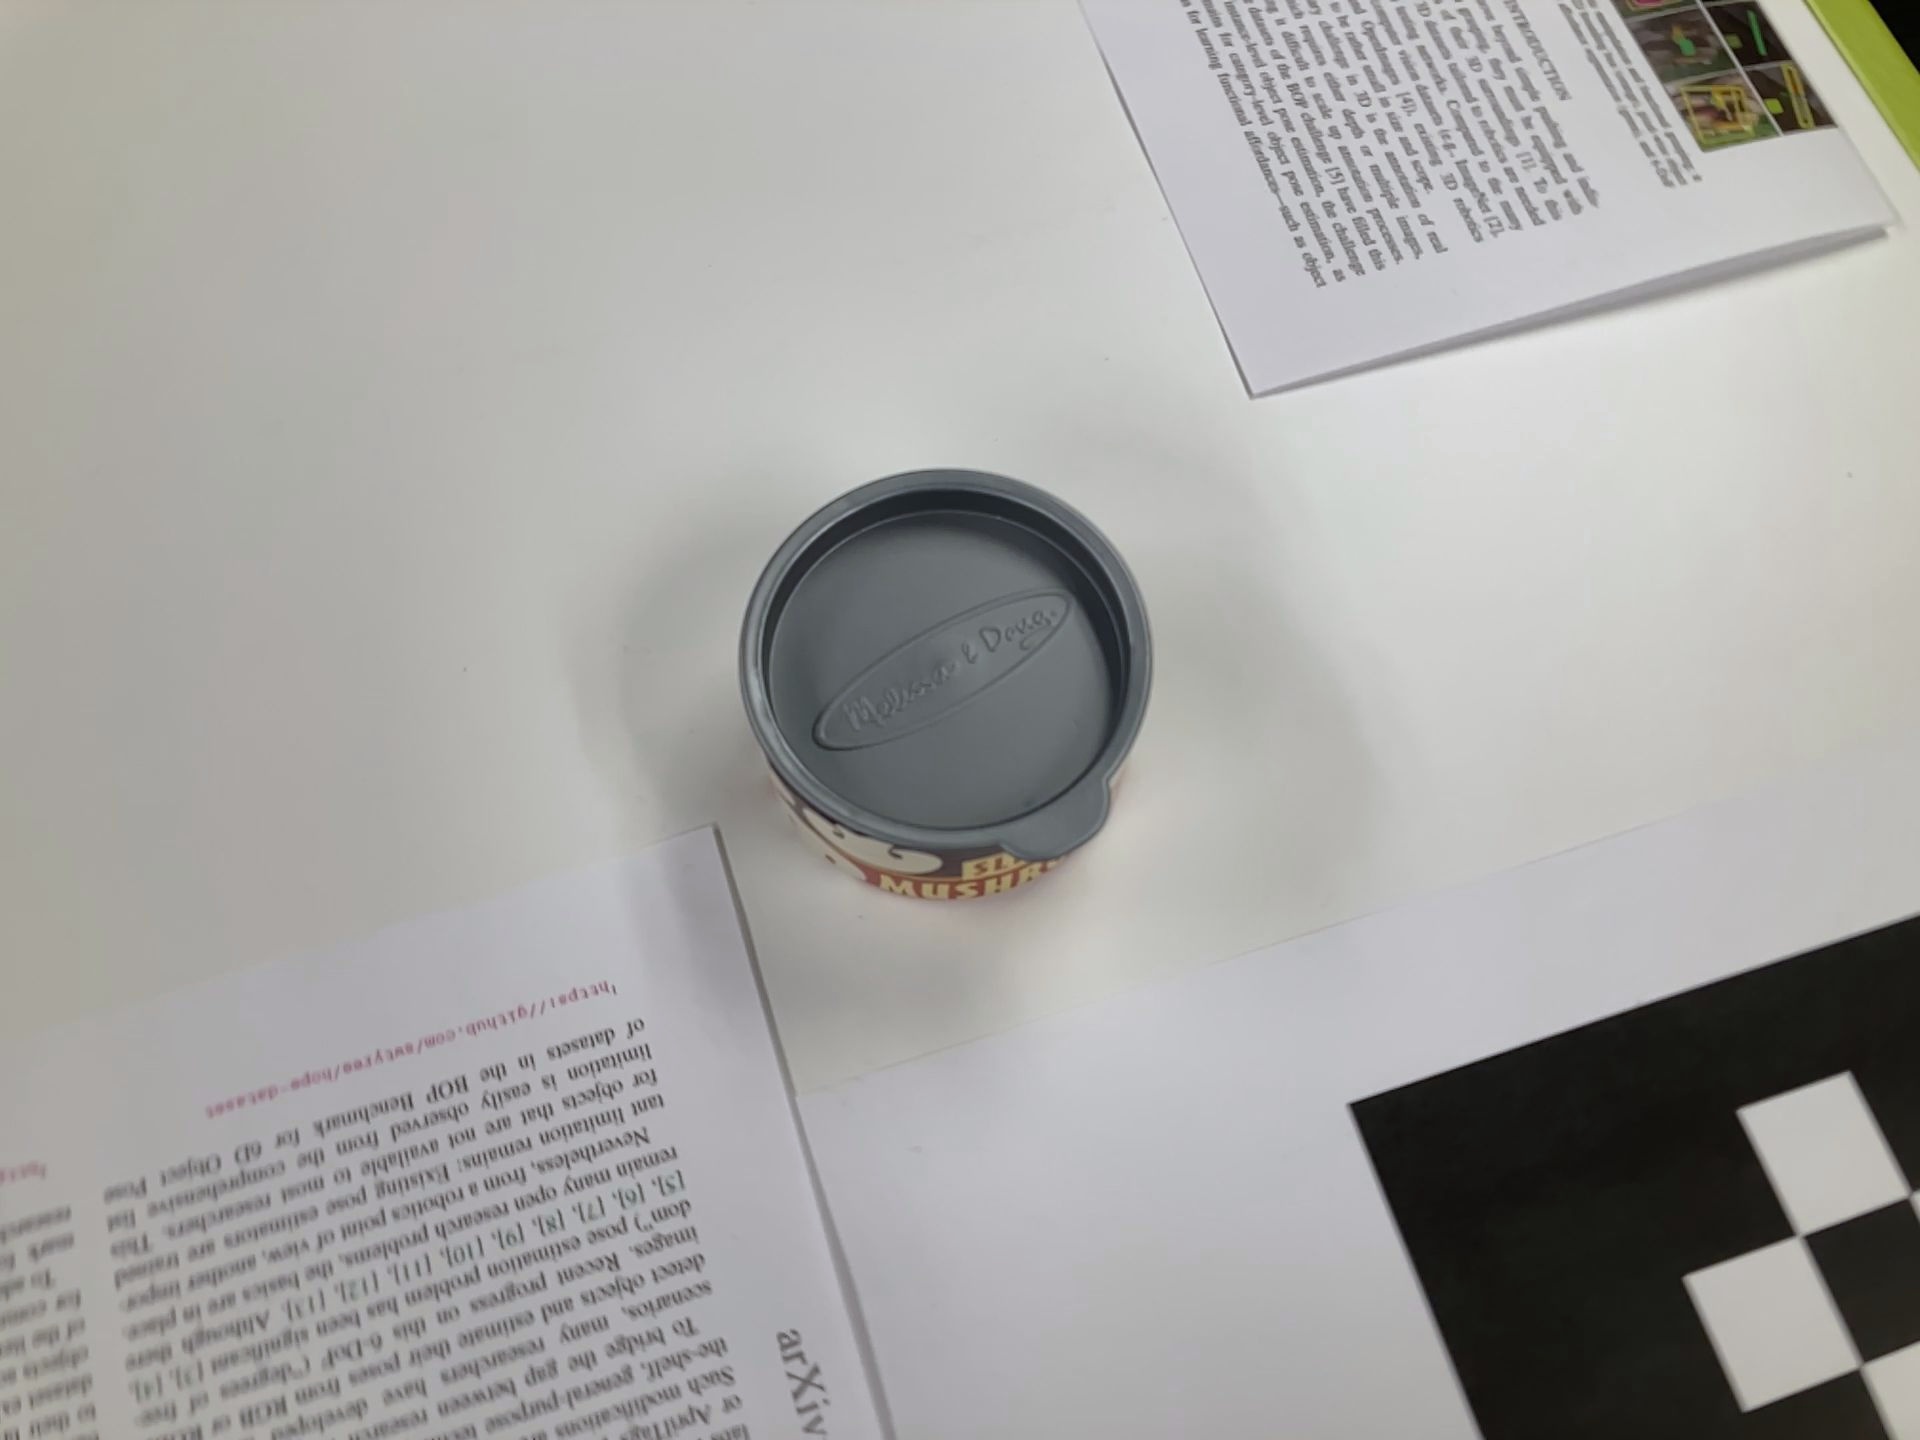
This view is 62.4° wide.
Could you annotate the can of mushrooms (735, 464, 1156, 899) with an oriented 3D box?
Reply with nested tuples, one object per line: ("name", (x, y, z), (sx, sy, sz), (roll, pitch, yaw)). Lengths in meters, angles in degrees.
("can of mushrooms", (-0.001, -0.004, 0.262), (0.071, 0.033, 0.071), (0, 68, -1))
